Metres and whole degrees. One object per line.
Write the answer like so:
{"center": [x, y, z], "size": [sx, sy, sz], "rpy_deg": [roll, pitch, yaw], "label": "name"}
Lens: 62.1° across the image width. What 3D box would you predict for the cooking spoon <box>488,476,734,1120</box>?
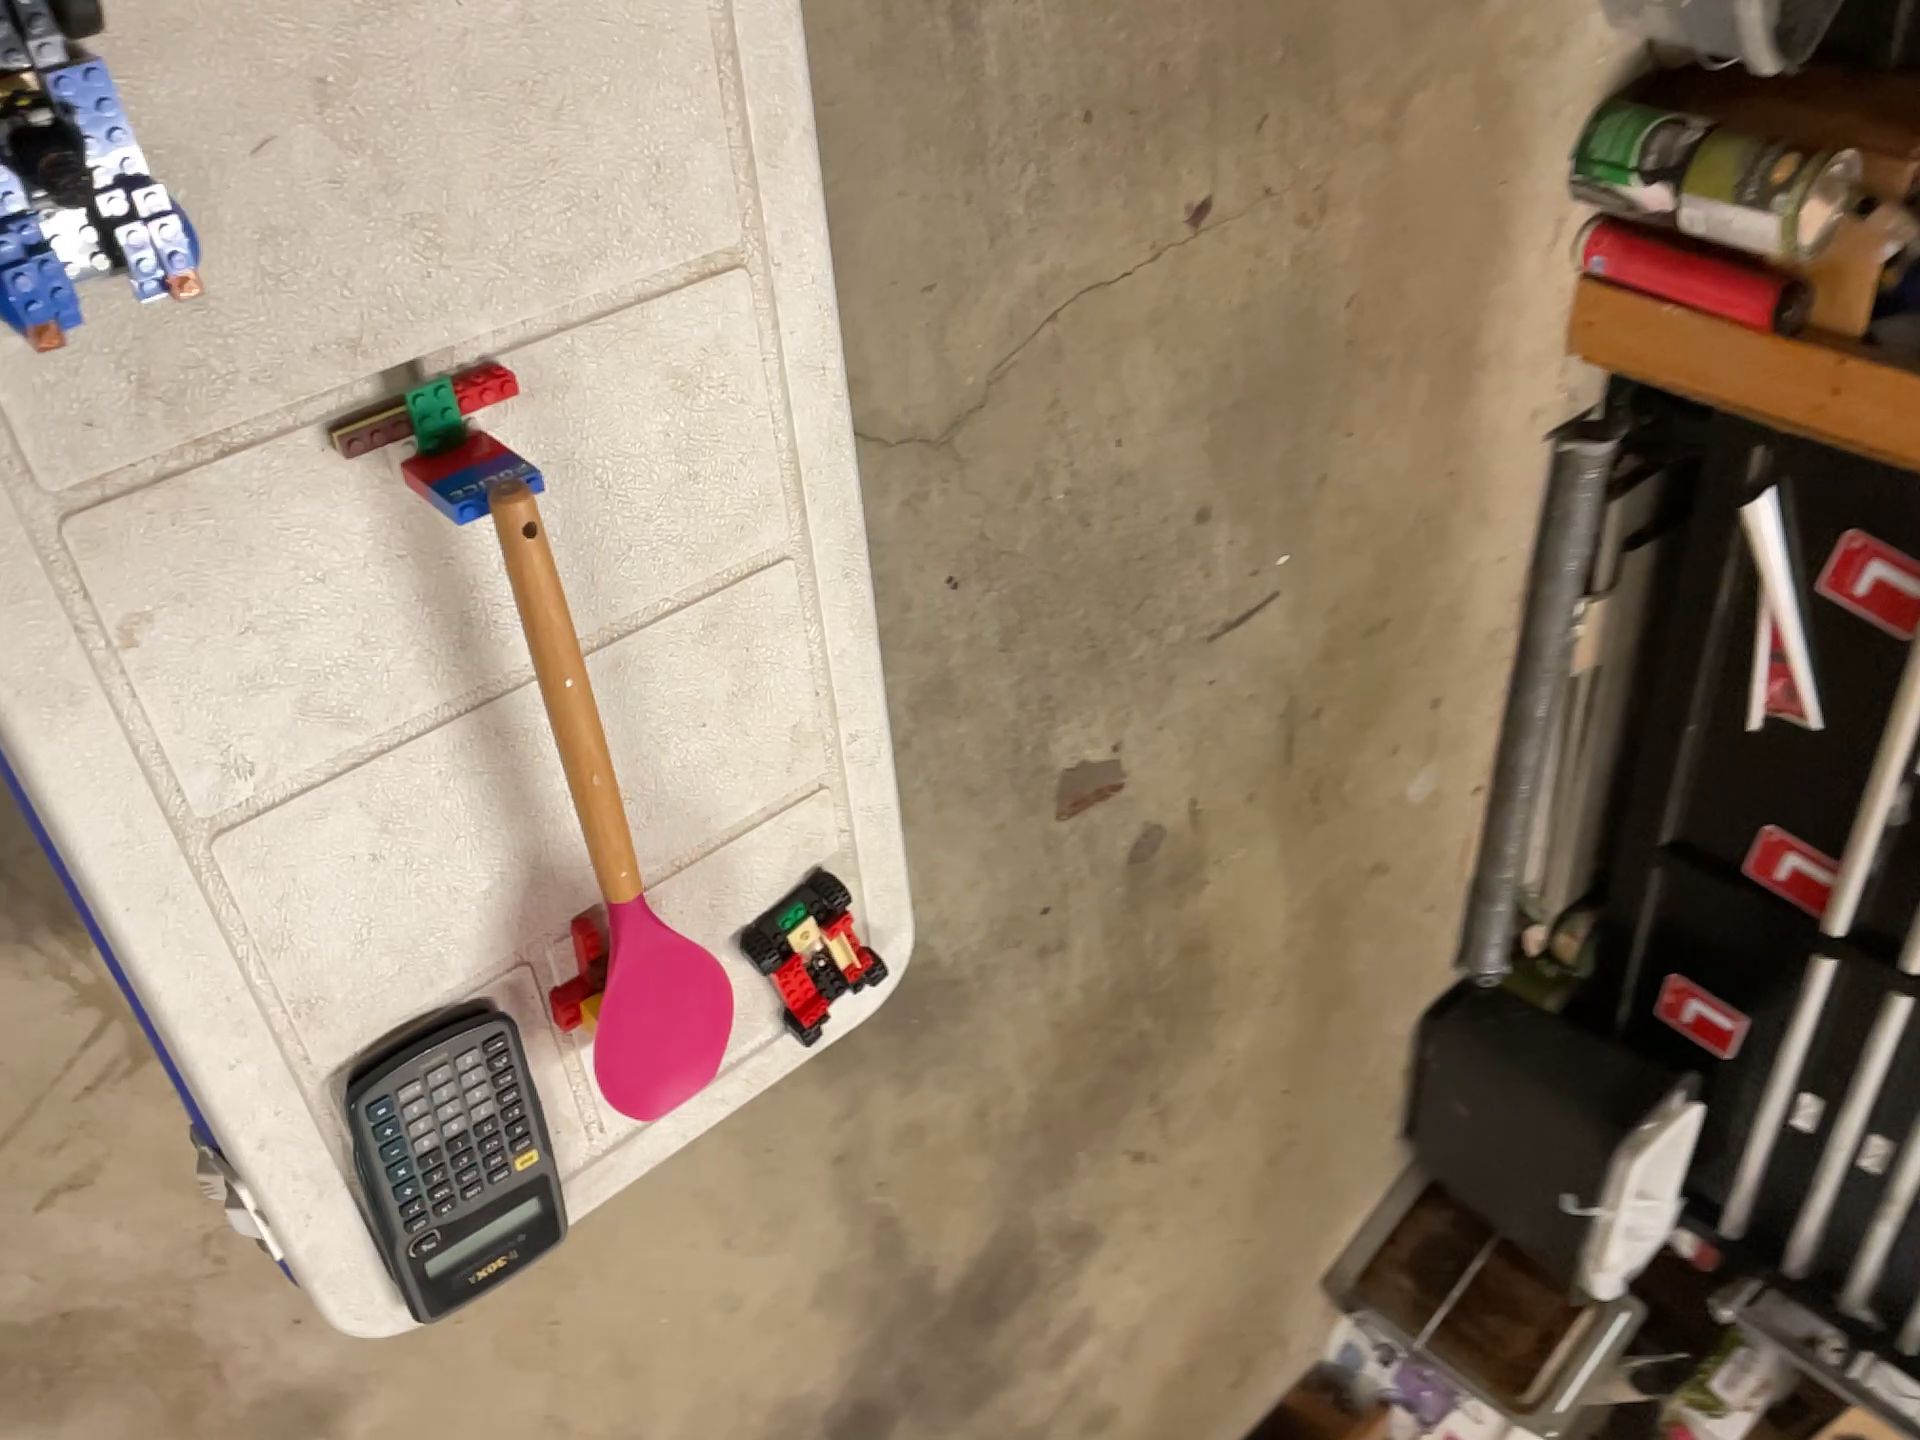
{"center": [-0.135, 0.047, 0.615], "size": [0.069, 0.017, 0.318], "rpy_deg": [-31, 136, -29], "label": "cooking spoon"}
